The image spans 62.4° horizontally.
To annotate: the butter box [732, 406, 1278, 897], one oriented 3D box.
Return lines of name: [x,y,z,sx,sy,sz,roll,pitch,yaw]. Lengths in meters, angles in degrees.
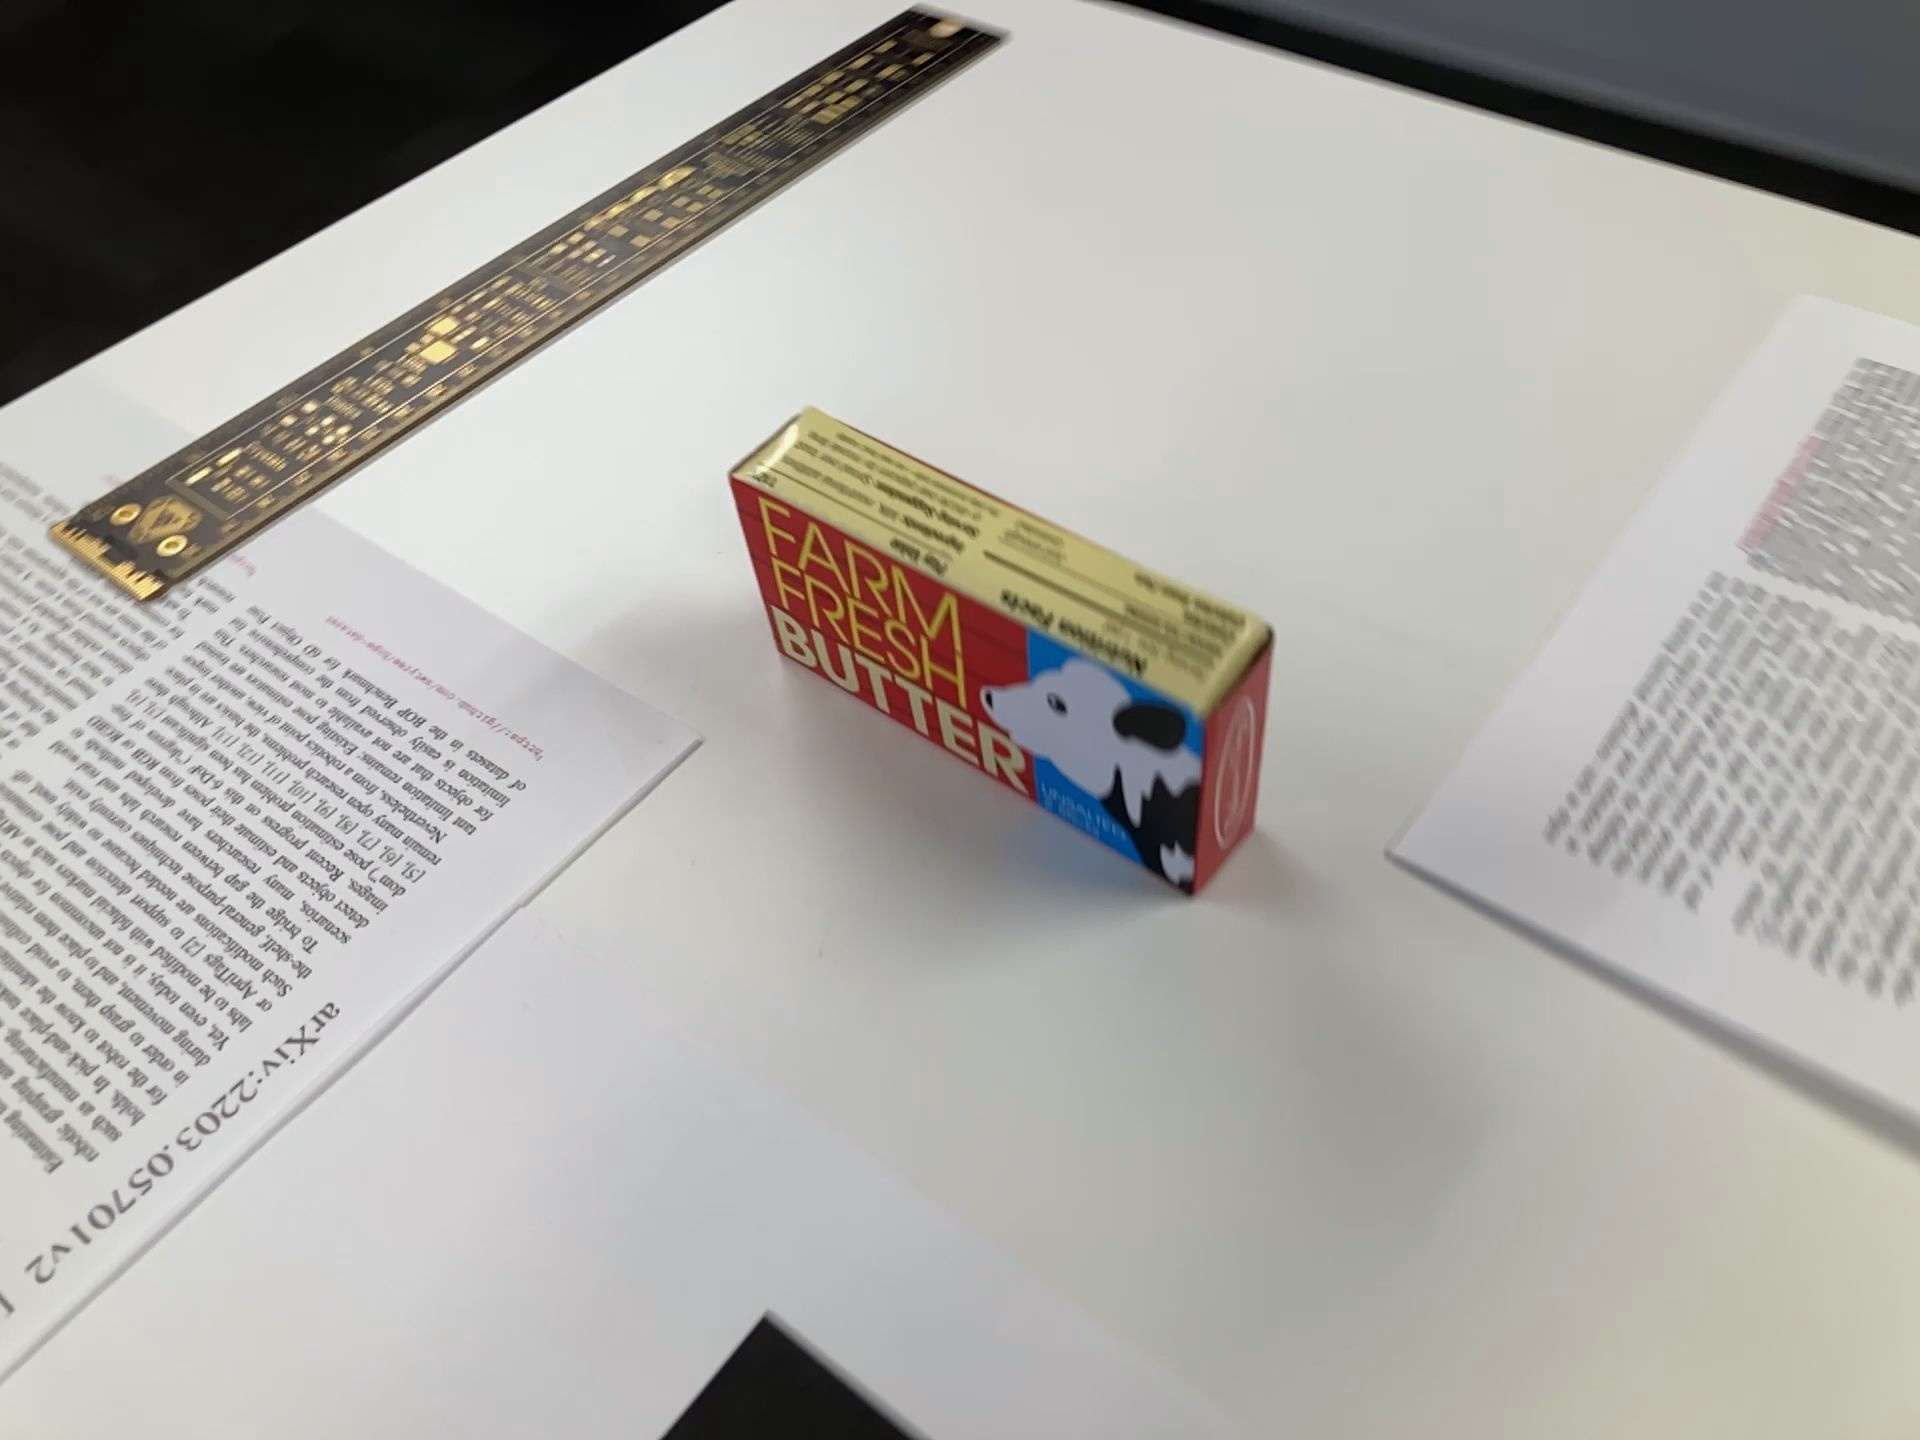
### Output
butter box: [0.006,-0.014,0.288,0.103,0.053,0.024,29,59,26]
